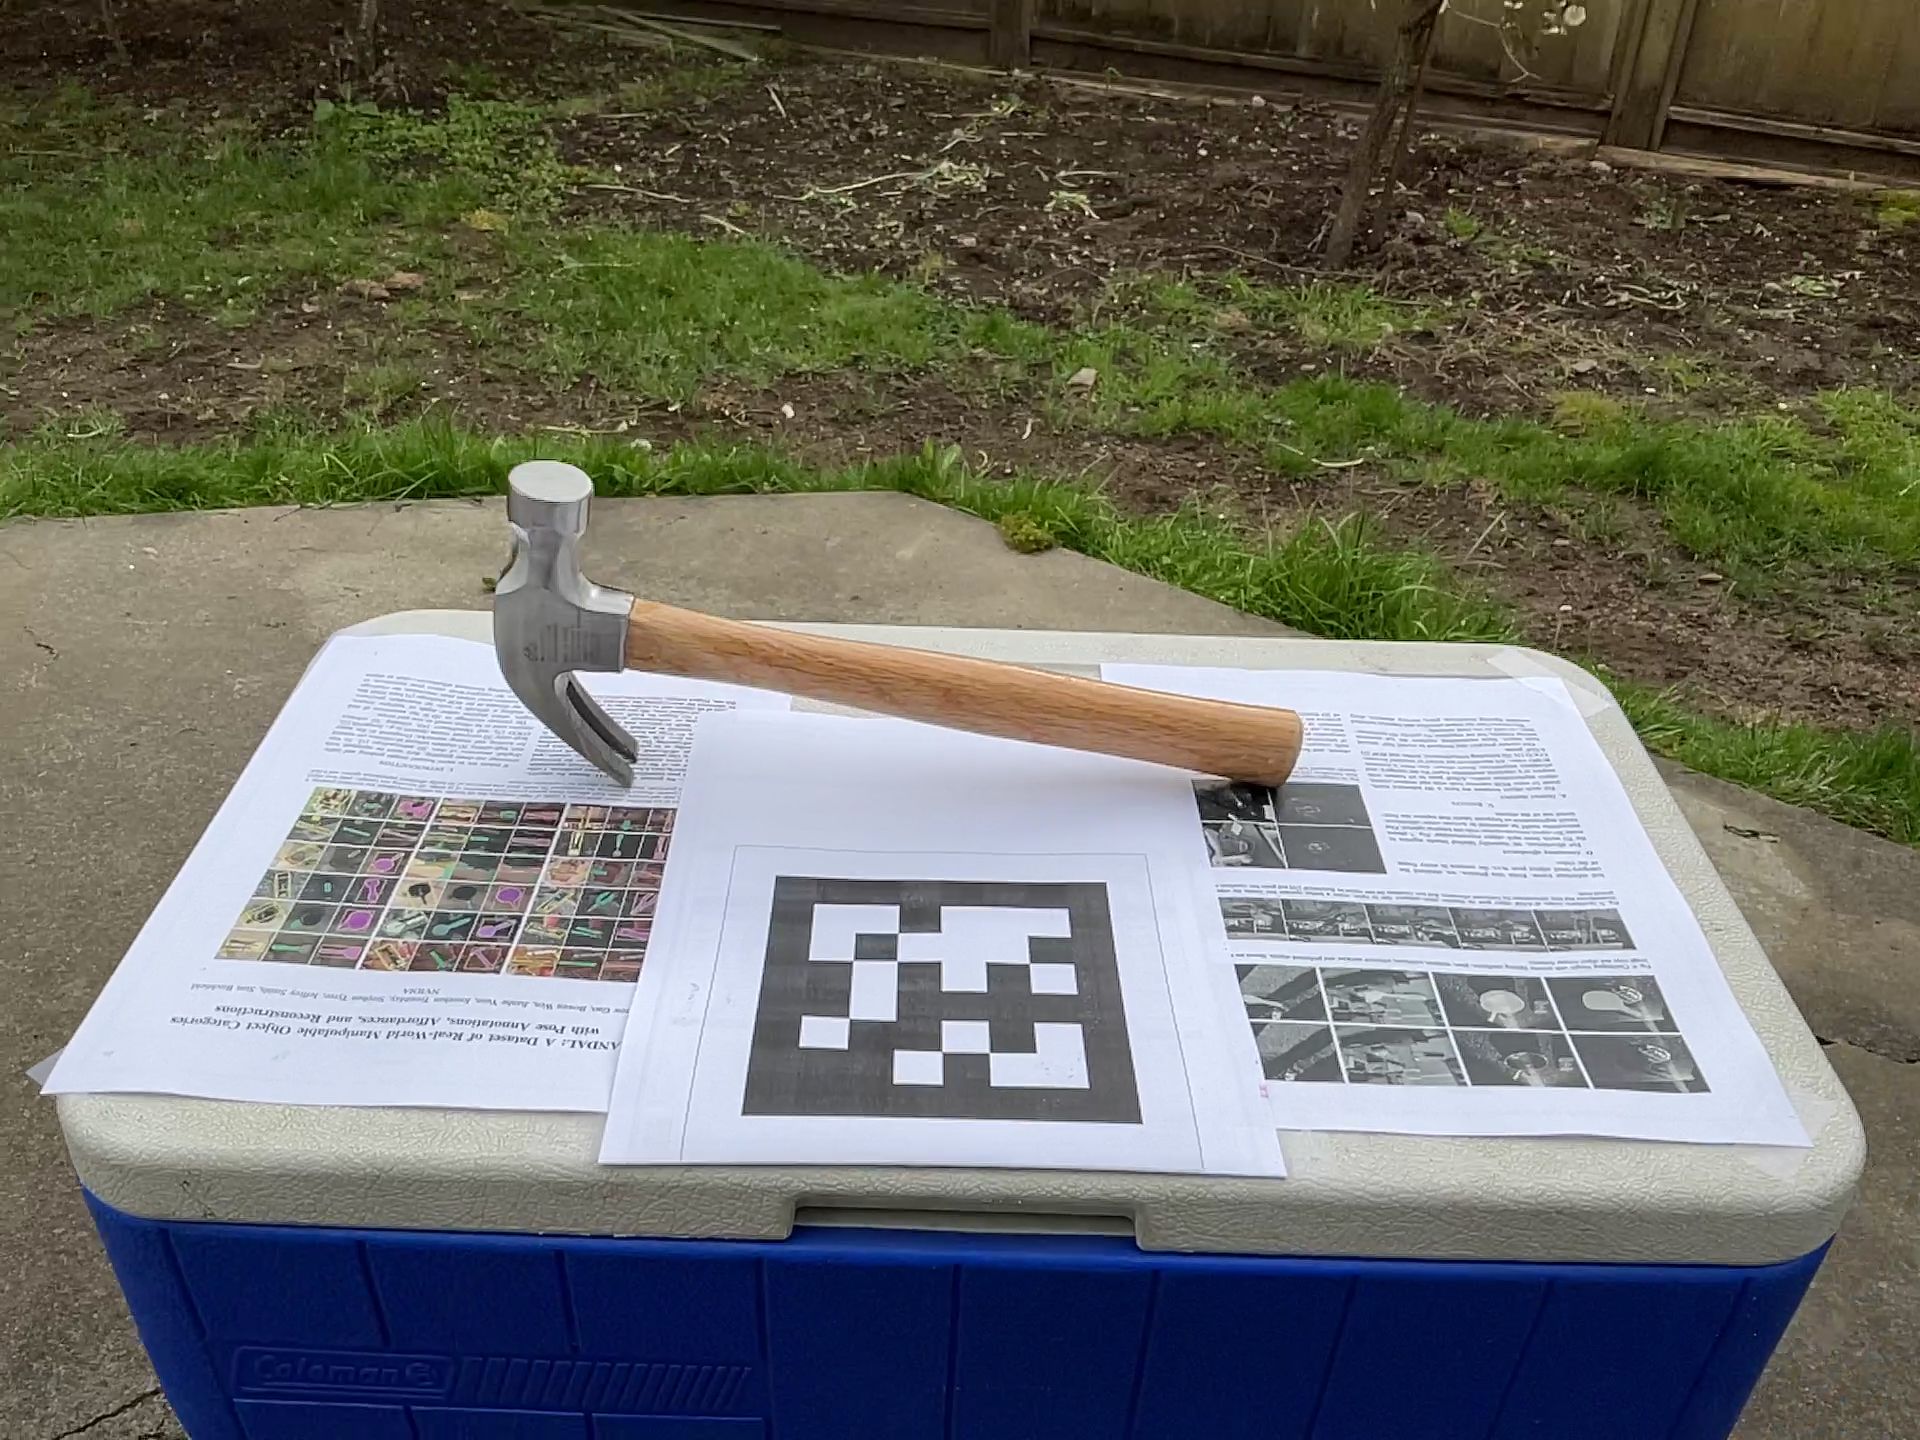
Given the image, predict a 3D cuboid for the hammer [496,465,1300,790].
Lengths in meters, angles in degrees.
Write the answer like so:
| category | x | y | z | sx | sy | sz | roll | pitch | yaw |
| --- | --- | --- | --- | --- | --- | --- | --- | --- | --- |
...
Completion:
| category | x | y | z | sx | sy | sz | roll | pitch | yaw |
| --- | --- | --- | --- | --- | --- | --- | --- | --- | --- |
| hammer | -0.023 | -0.012 | 0.660 | 0.331 | 0.130 | 0.031 | 10 | 35 | -8 |
